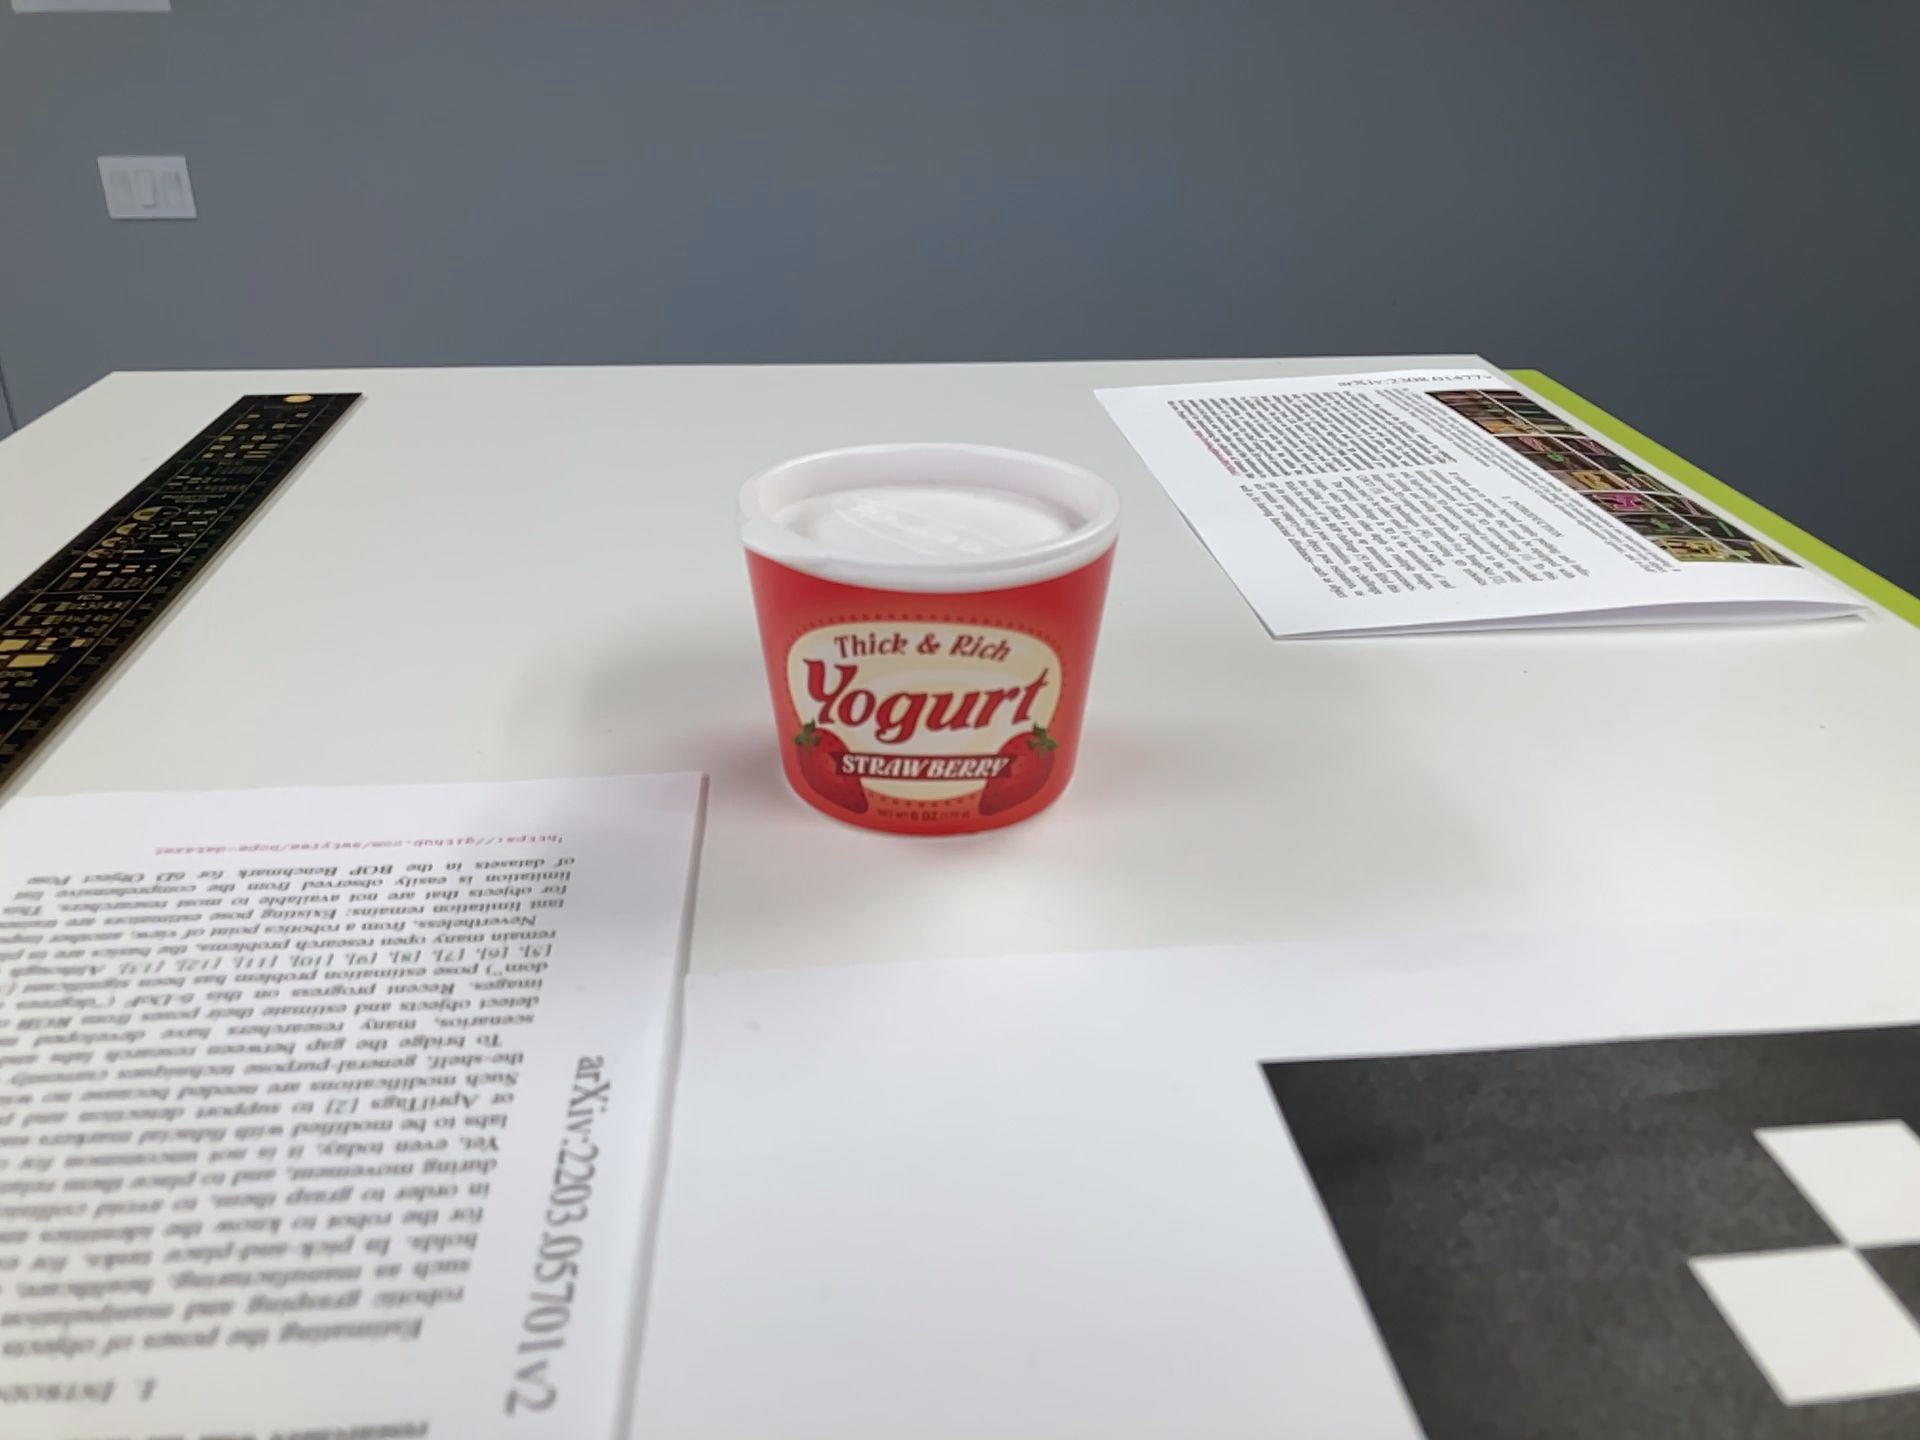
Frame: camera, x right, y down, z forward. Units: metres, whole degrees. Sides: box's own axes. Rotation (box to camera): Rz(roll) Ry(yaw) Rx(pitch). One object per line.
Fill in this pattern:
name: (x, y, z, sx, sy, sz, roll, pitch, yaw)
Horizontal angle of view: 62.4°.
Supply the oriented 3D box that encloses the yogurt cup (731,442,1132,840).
yogurt cup: (-0.005, -0.015, 0.281, 0.072, 0.054, 0.072, 1, 25, -1)
